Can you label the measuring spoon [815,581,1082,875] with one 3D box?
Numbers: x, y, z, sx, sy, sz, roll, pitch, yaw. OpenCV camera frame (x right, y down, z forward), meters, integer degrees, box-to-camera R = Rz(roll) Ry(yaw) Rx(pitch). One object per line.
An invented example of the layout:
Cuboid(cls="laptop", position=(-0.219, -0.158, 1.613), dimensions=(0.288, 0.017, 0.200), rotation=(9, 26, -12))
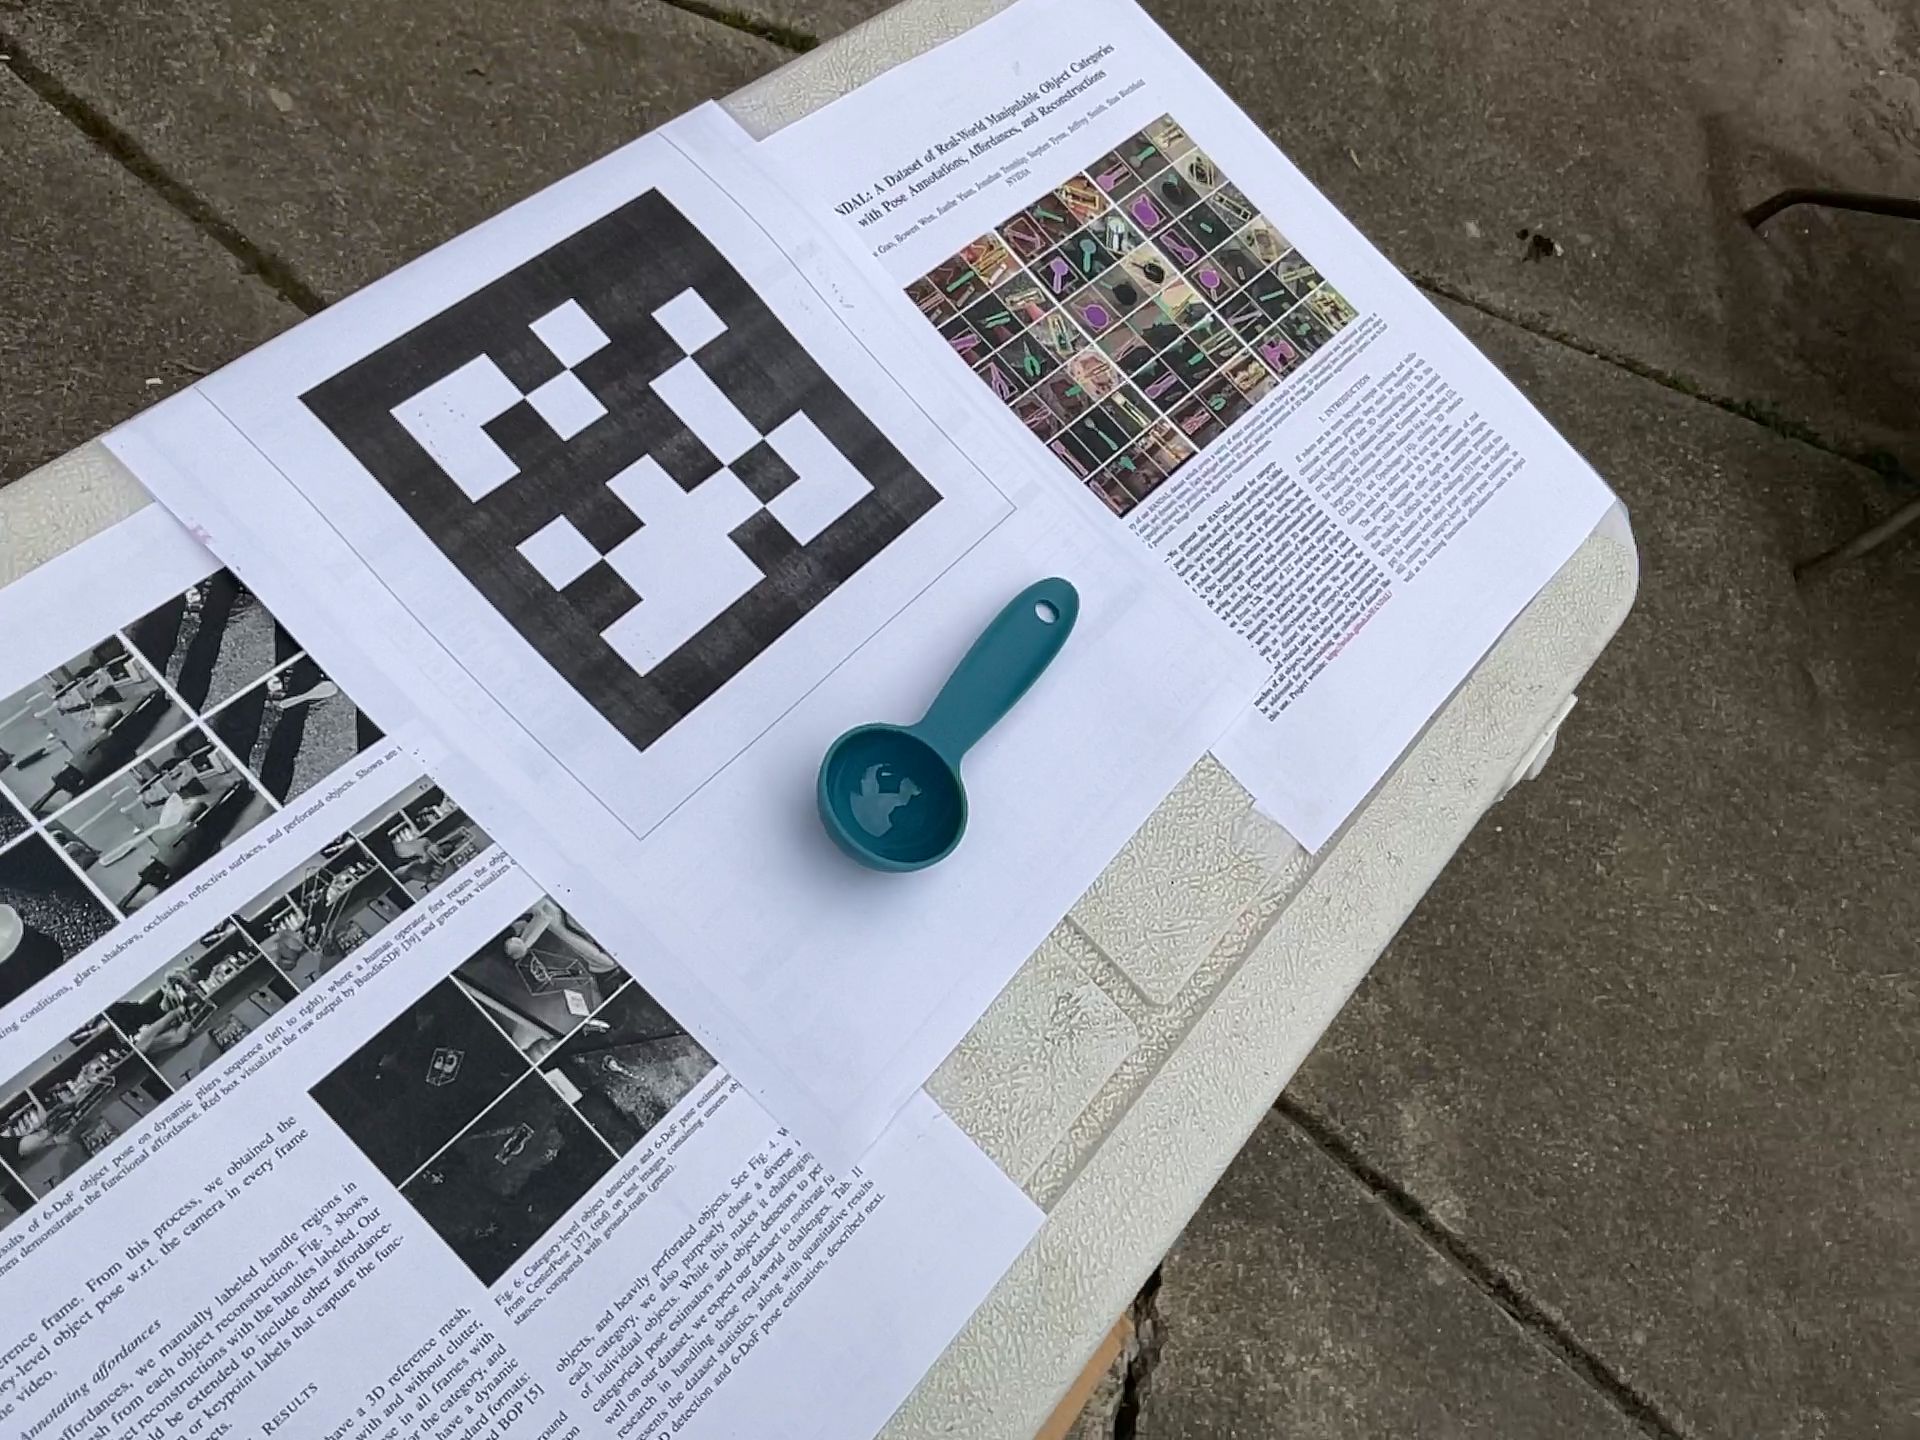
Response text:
Cuboid(cls="measuring spoon", position=(0.000, 0.000, 0.455), dimensions=(0.042, 0.021, 0.129), rotation=(42, 48, -1))
